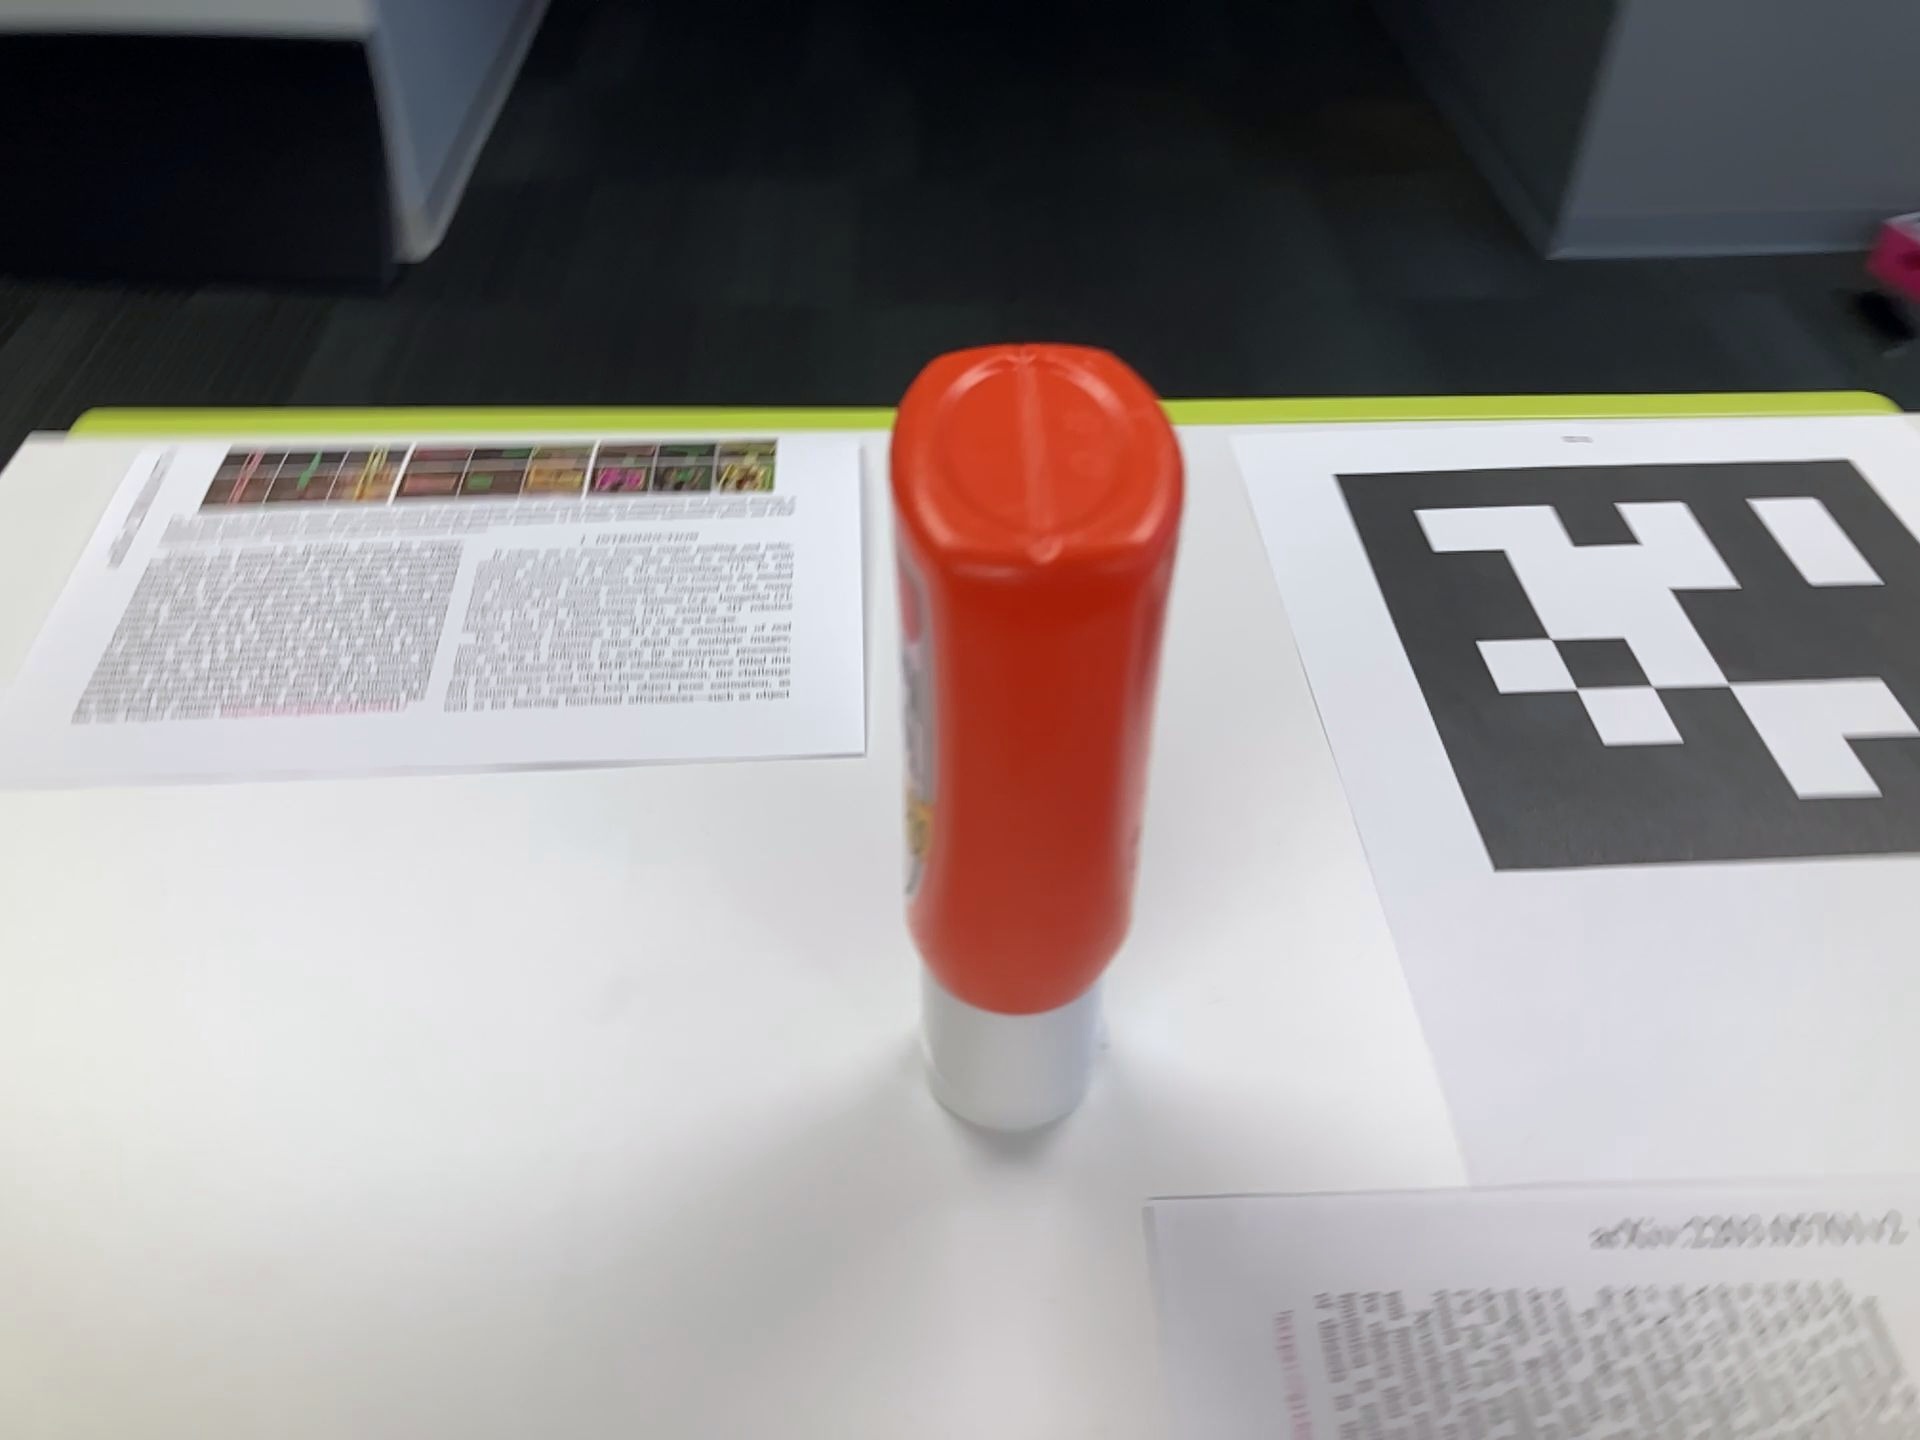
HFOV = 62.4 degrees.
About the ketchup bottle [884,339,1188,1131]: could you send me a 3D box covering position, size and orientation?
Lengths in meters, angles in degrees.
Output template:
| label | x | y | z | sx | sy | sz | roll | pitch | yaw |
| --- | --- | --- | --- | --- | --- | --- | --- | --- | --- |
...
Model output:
| label | x | y | z | sx | sy | sz | roll | pitch | yaw |
| --- | --- | --- | --- | --- | --- | --- | --- | --- | --- |
| ketchup bottle | 0.011 | 0.014 | 0.275 | 0.043 | 0.149 | 0.065 | -1 | 42 | -1 |
